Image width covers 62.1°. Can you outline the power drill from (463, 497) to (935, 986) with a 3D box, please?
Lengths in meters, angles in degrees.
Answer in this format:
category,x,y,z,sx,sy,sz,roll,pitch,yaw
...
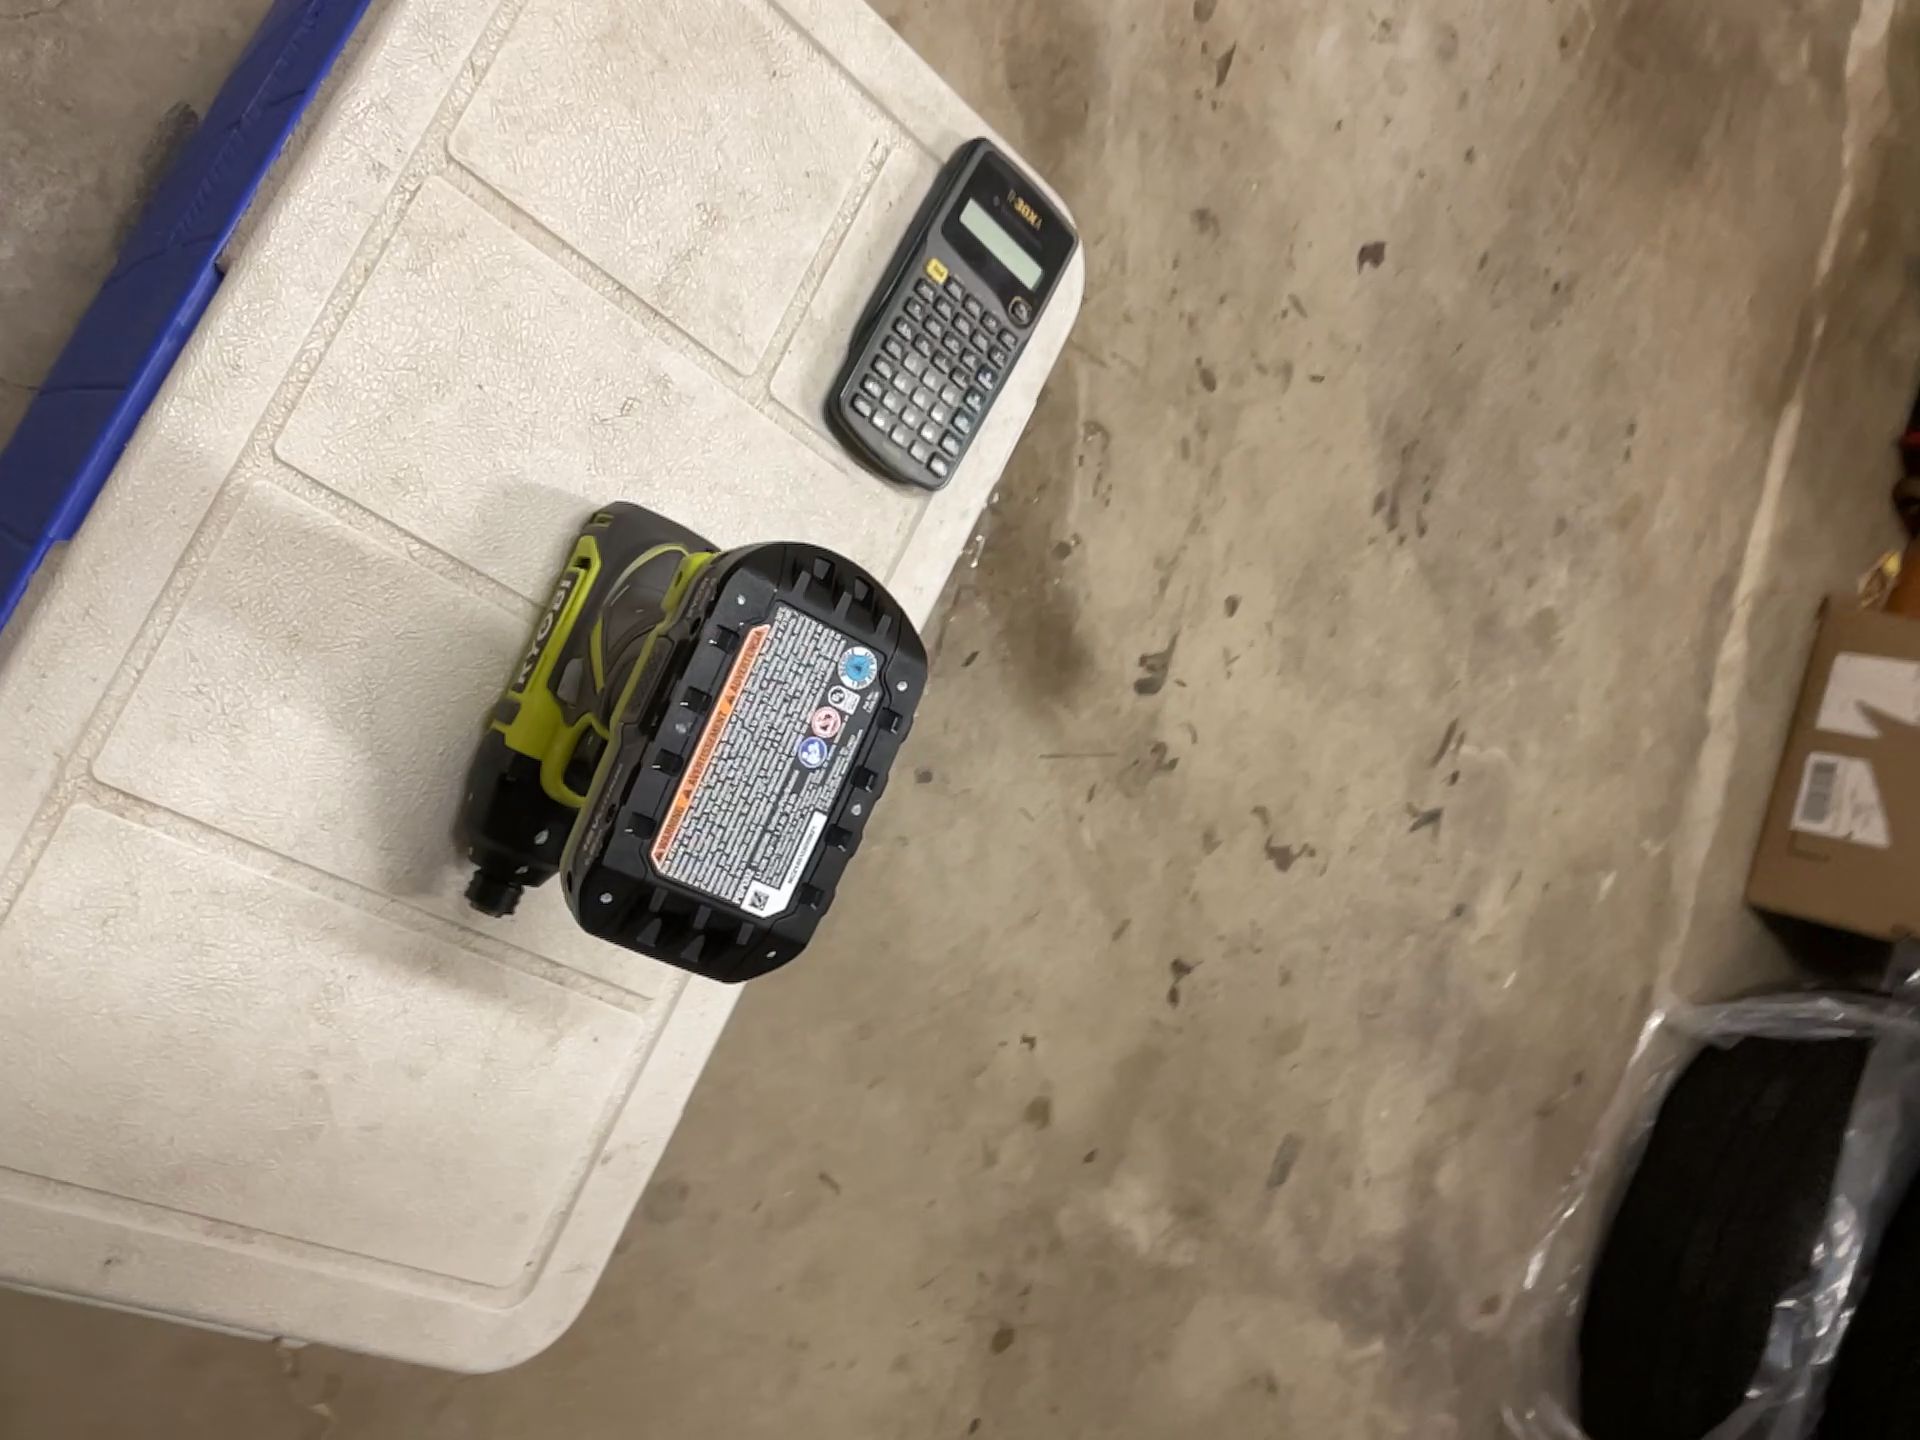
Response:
category,x,y,z,sx,sy,sz,roll,pitch,yaw
power drill,-0.111,0.007,0.567,0.080,0.223,0.171,28,83,-29
